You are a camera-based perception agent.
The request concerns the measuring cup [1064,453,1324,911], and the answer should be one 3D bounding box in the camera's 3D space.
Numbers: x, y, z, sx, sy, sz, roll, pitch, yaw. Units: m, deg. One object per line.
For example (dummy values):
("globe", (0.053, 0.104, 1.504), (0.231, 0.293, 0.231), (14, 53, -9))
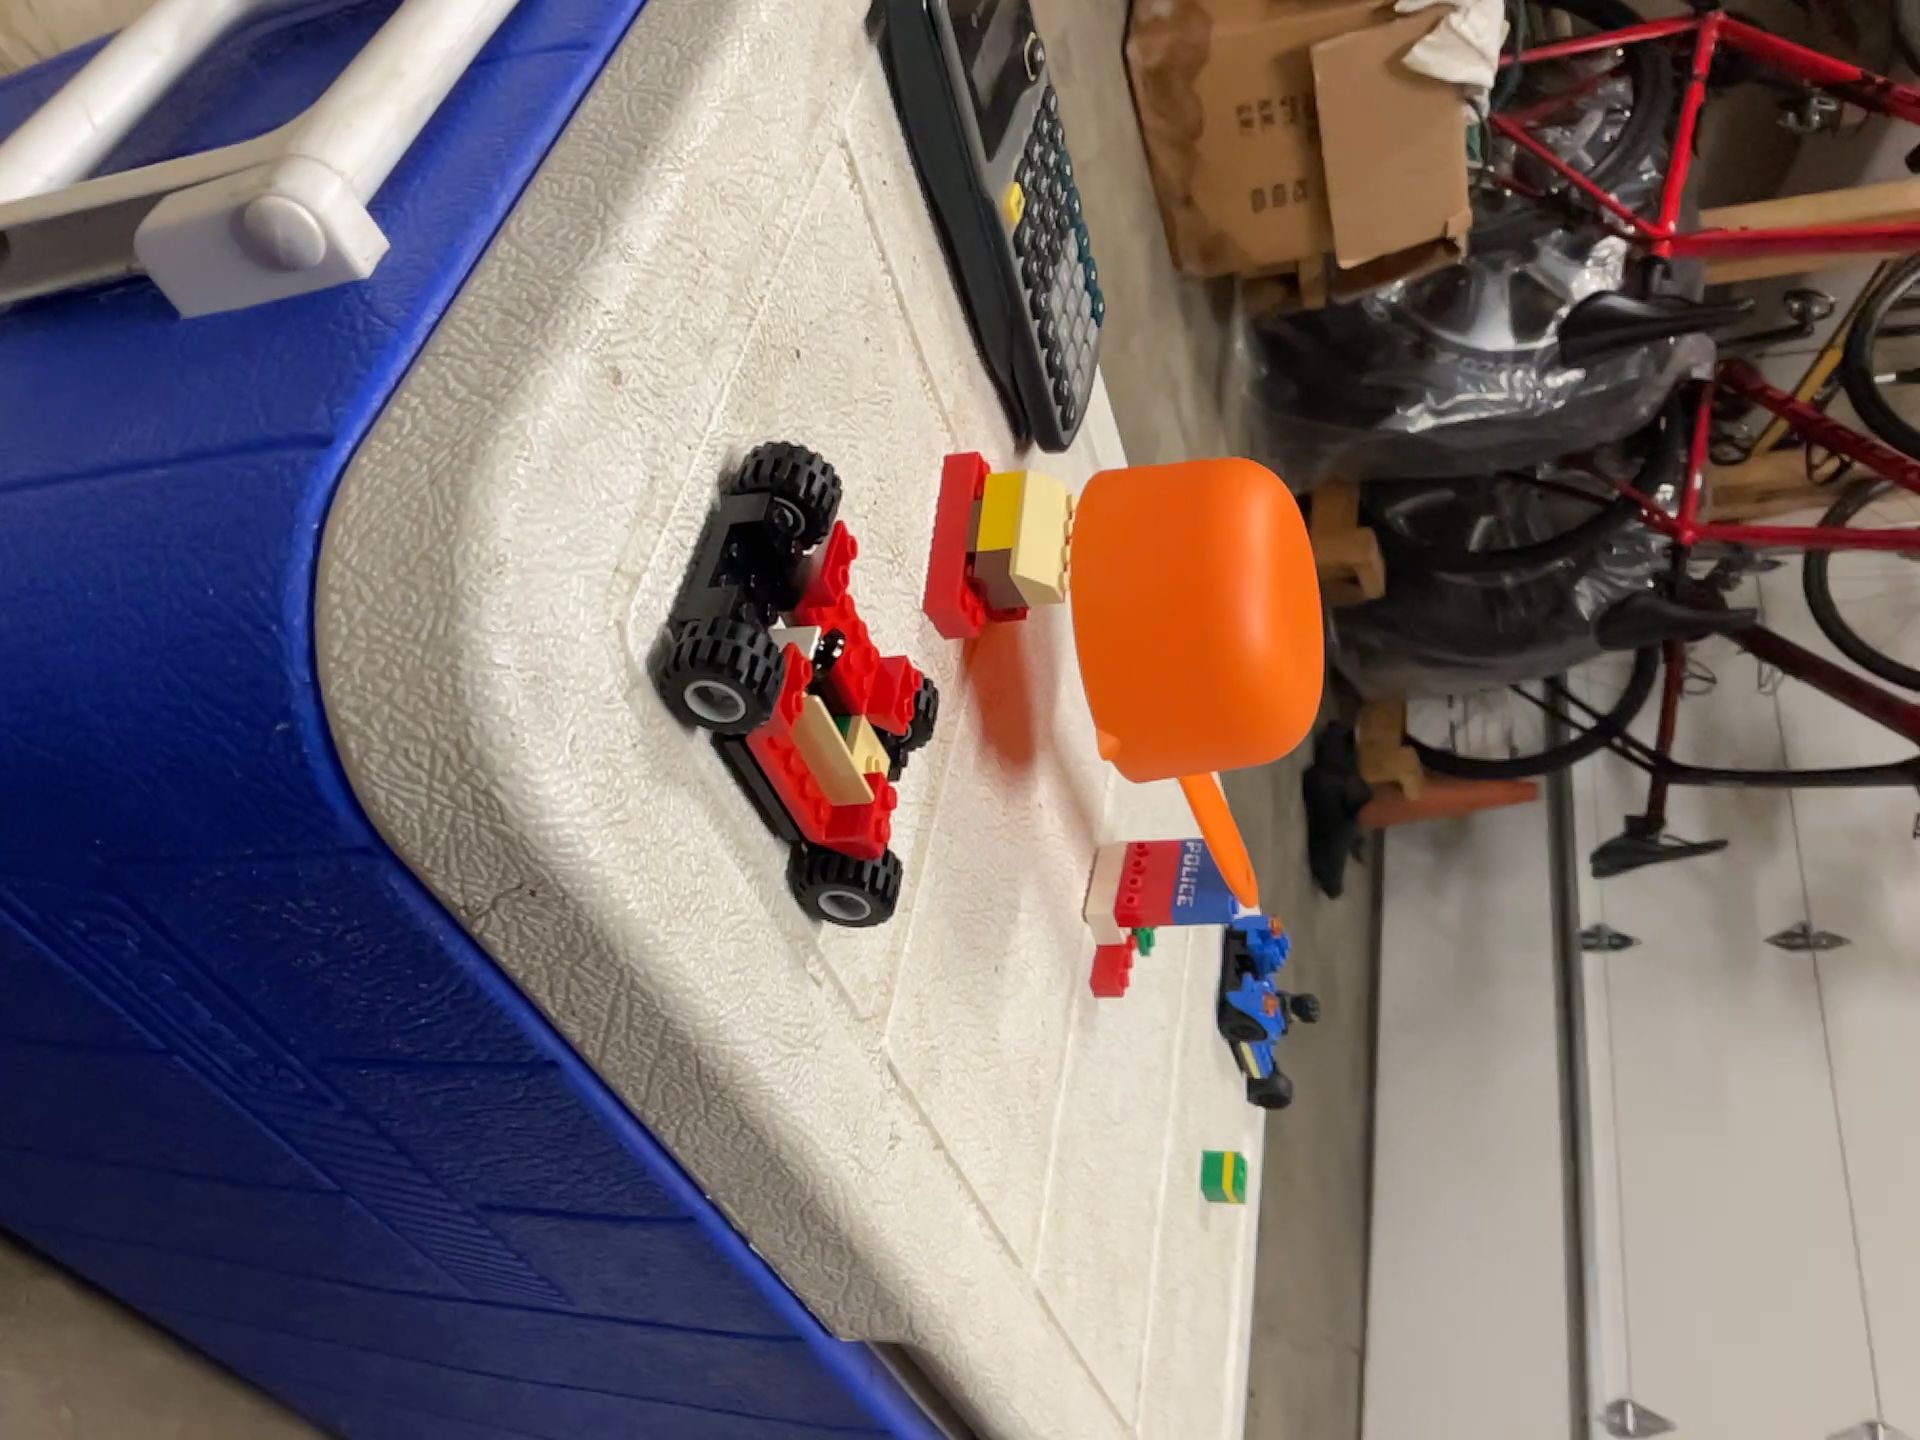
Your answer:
("measuring cup", (0.083, 0.000, 0.459), (0.173, 0.052, 0.095), (59, 34, -39))
